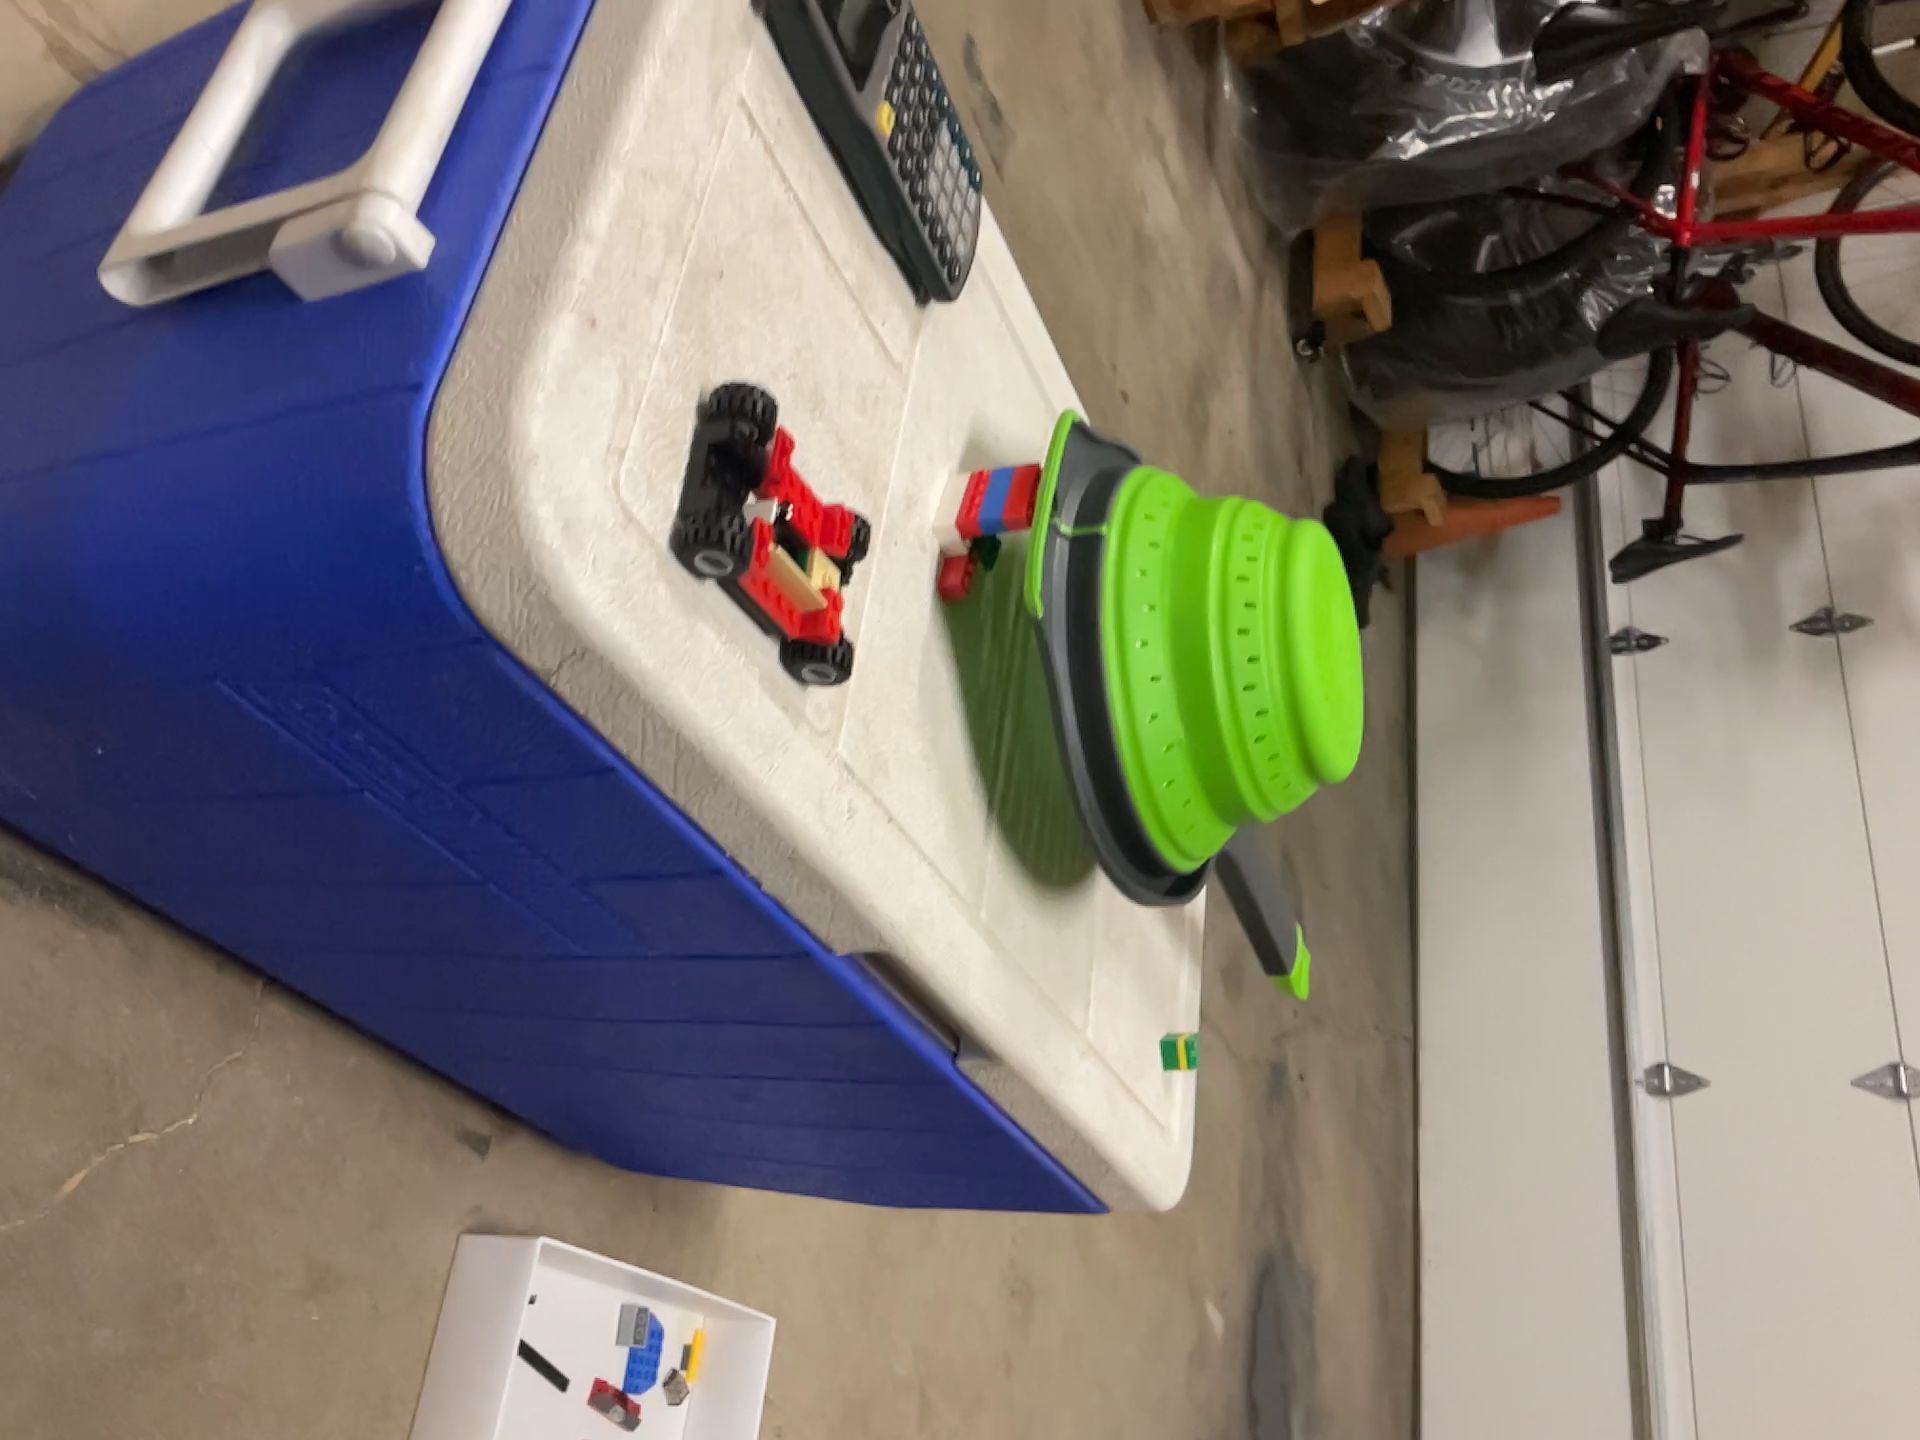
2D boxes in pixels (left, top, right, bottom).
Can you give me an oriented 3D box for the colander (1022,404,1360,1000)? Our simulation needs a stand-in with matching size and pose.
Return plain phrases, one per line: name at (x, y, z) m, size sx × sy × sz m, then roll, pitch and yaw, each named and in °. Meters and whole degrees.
colander at (0.143, 0.023, 0.729) m, size 0.396 × 0.094 × 0.205 m, roll 57°, pitch 36°, yaw -46°
